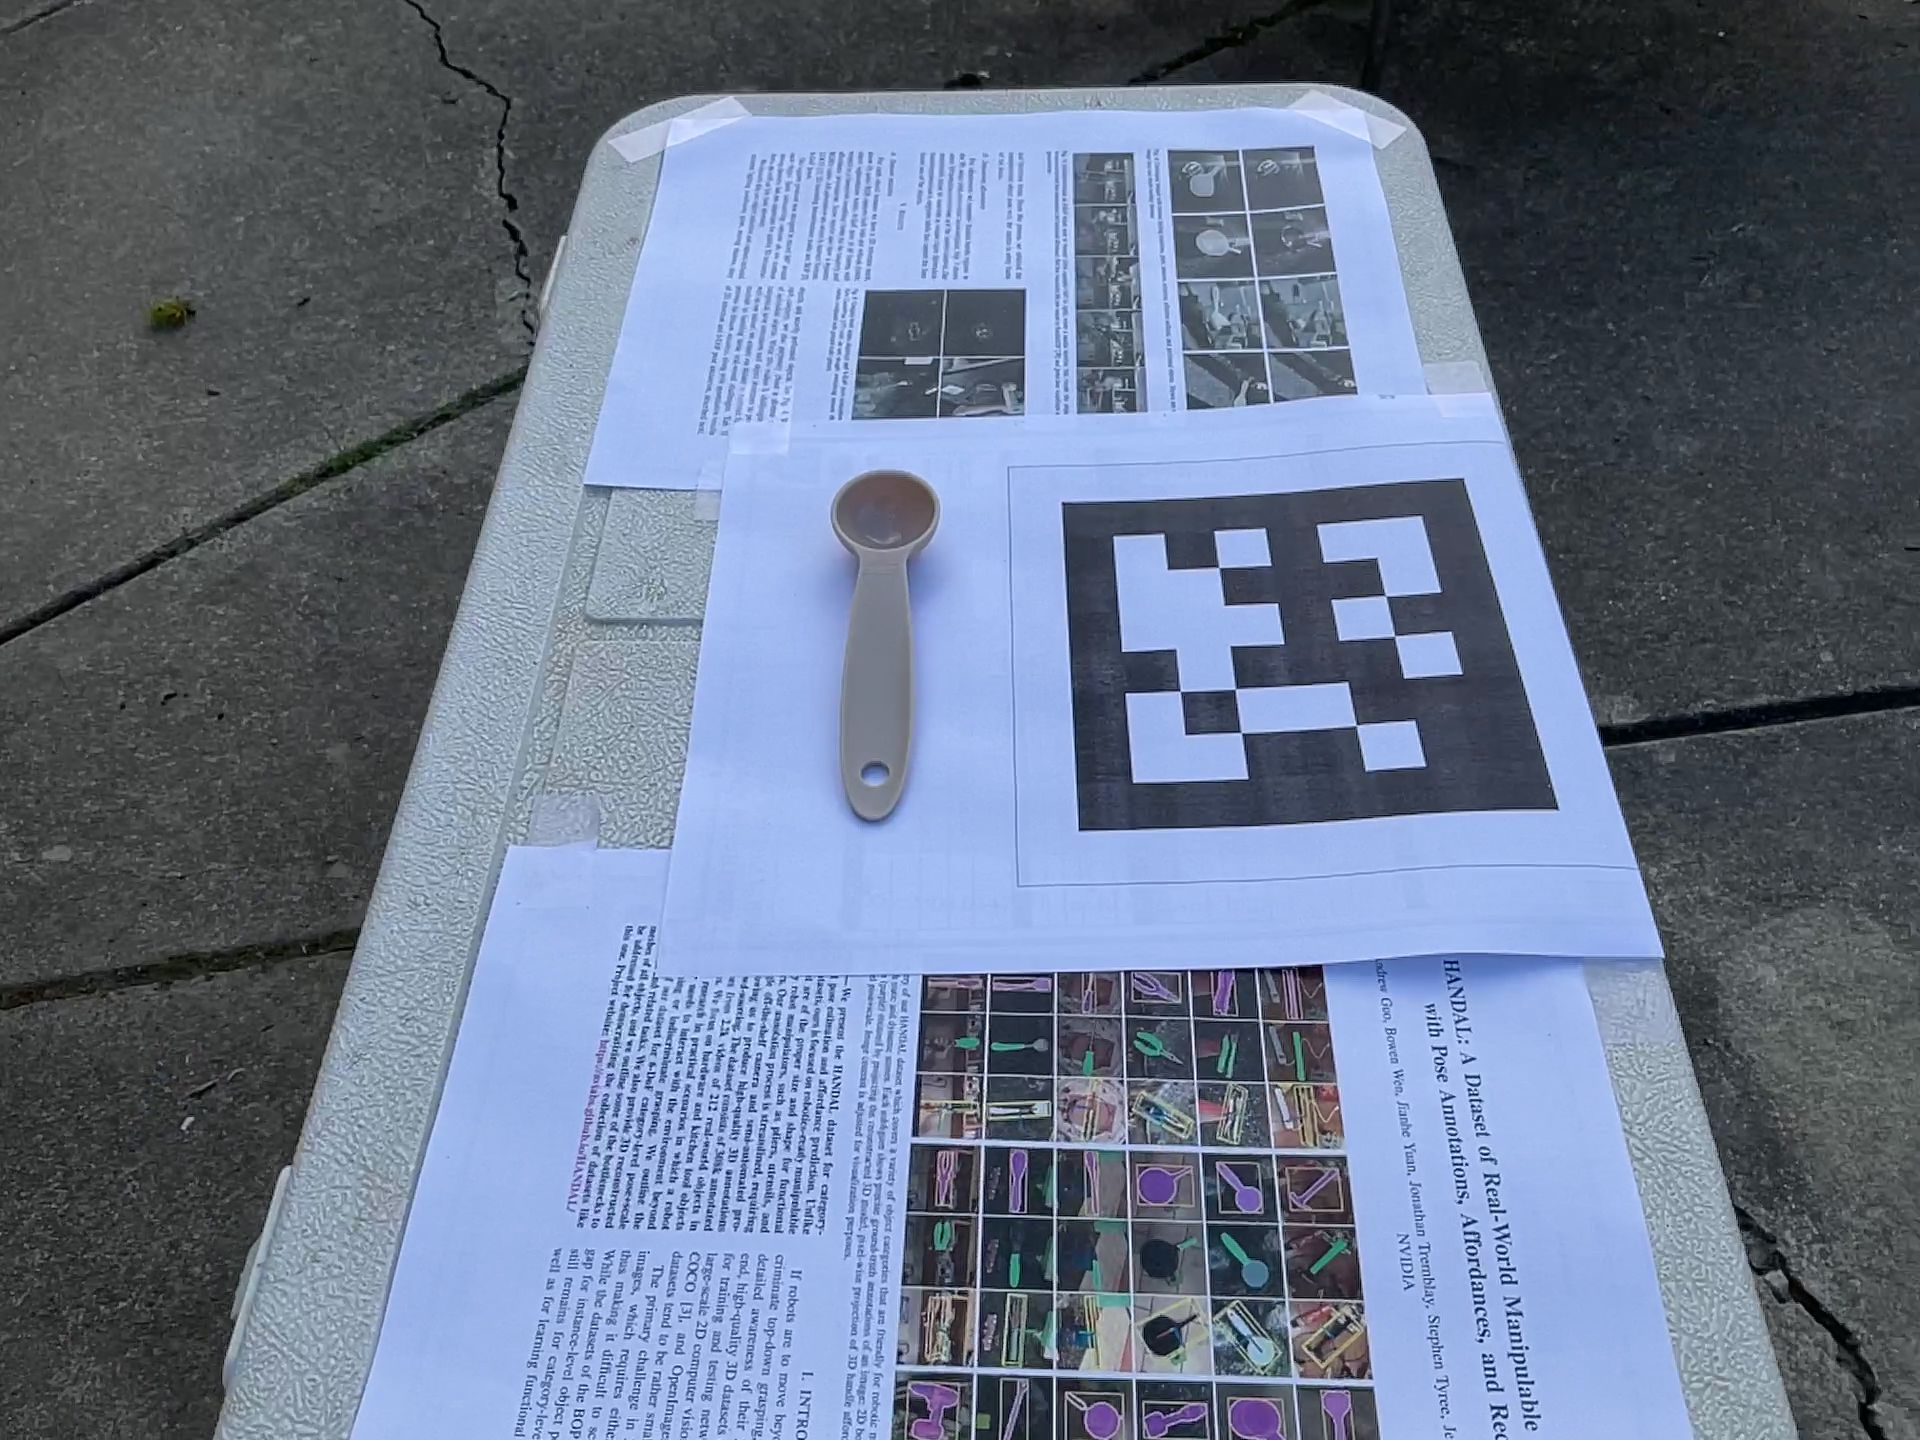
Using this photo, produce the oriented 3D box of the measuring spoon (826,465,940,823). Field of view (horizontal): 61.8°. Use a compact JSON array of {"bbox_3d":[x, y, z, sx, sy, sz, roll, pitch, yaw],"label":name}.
[{"bbox_3d":[-0.024,-0.023,0.470,0.034,0.018,0.124,0,58,1],"label":"measuring spoon"}]
